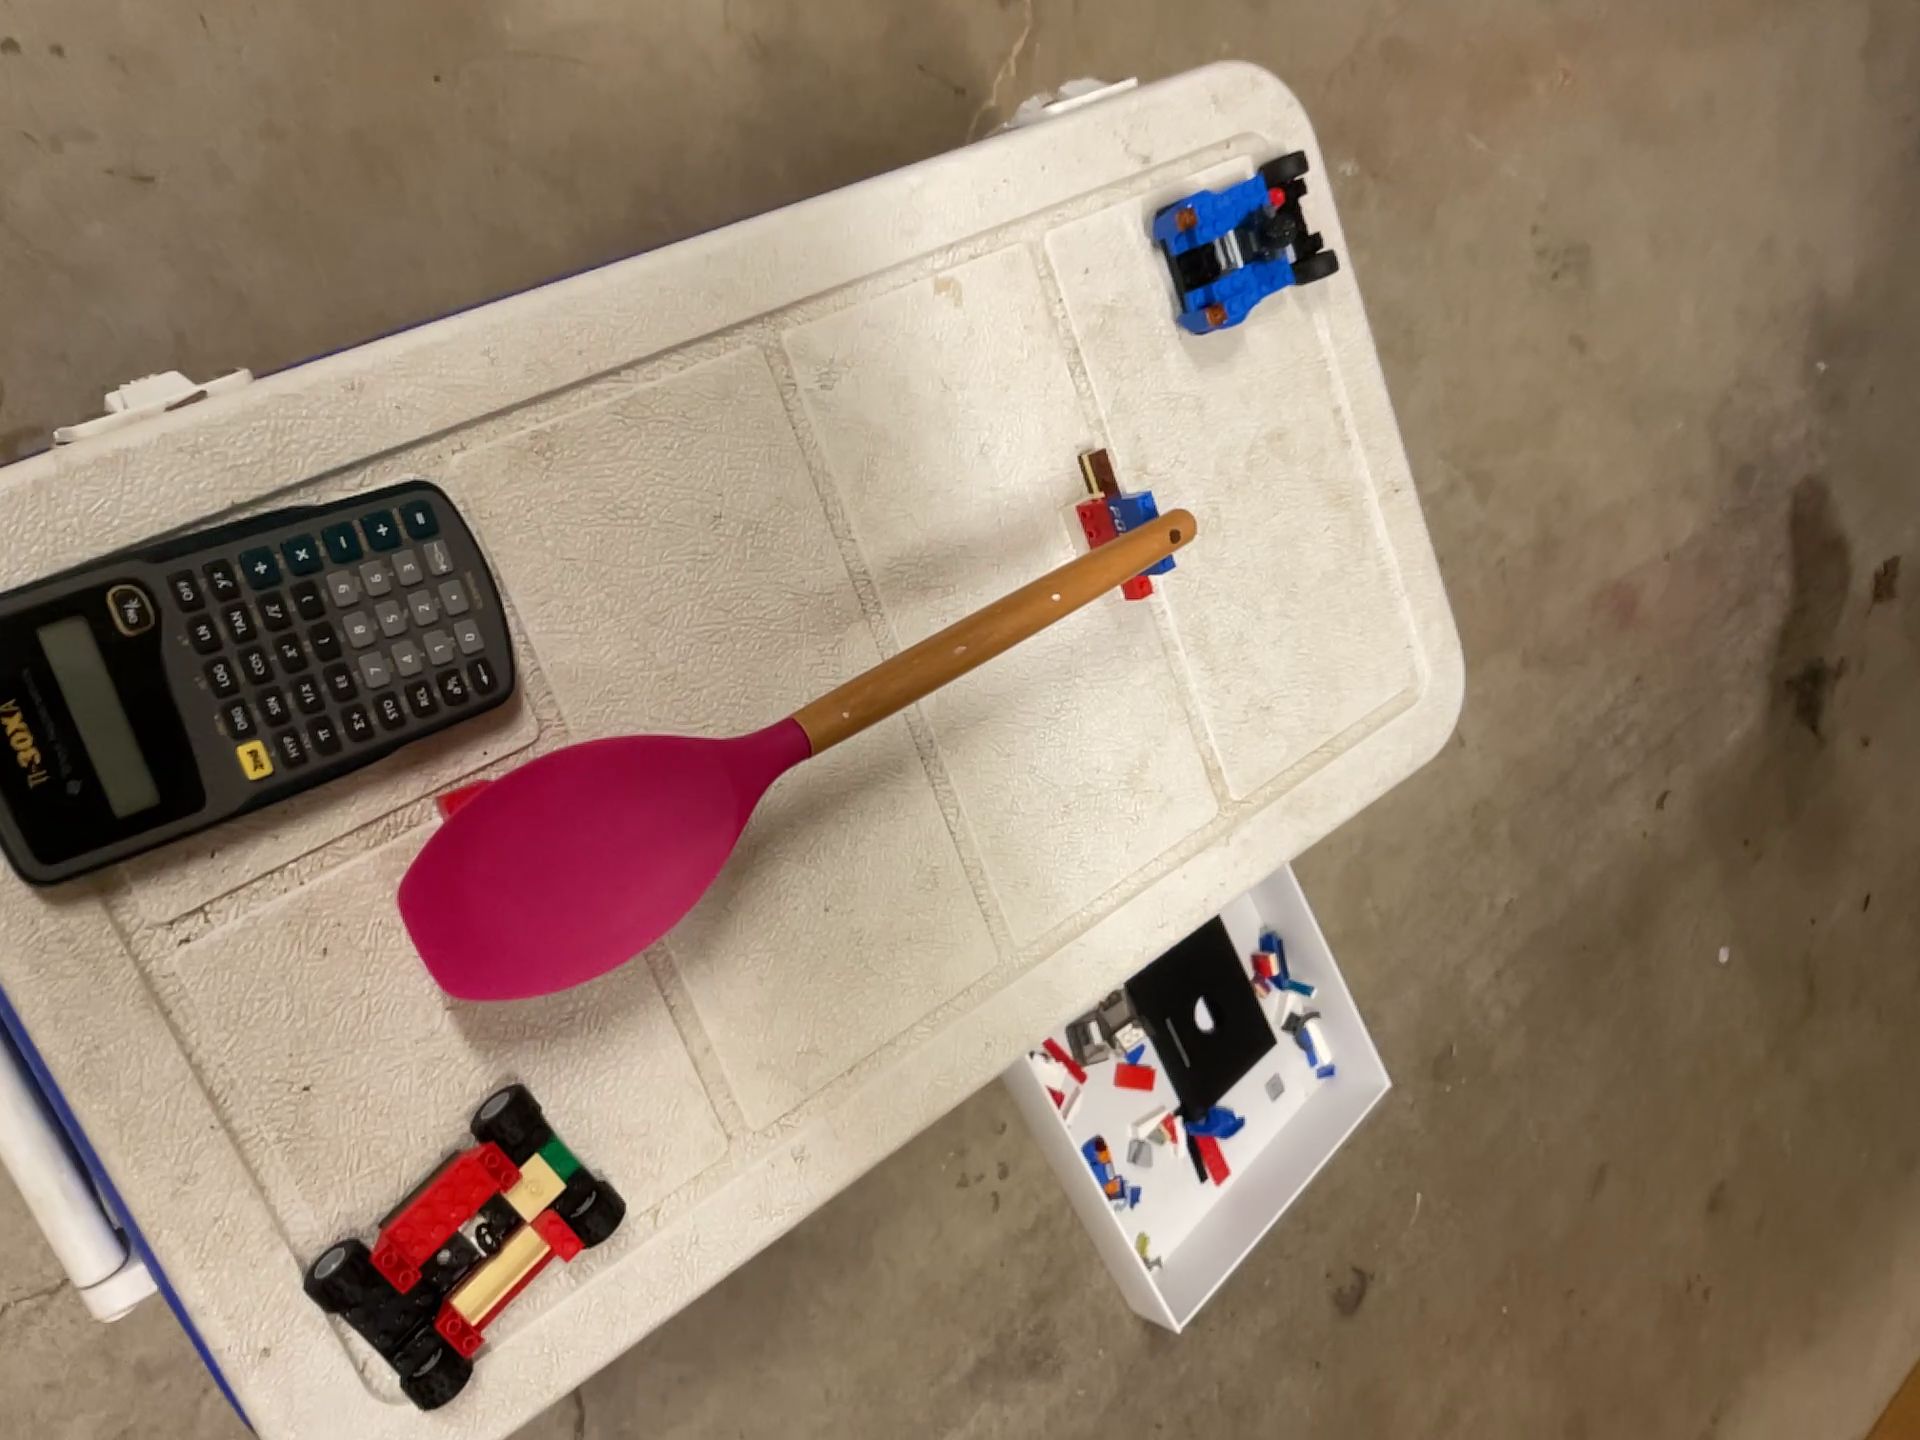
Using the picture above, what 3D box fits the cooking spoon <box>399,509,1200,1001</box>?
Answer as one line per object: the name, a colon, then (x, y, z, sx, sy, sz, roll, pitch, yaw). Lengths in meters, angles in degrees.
cooking spoon: (-0.034, -0.005, 0.531, 0.319, 0.017, 0.068, -30, 107, -29)
